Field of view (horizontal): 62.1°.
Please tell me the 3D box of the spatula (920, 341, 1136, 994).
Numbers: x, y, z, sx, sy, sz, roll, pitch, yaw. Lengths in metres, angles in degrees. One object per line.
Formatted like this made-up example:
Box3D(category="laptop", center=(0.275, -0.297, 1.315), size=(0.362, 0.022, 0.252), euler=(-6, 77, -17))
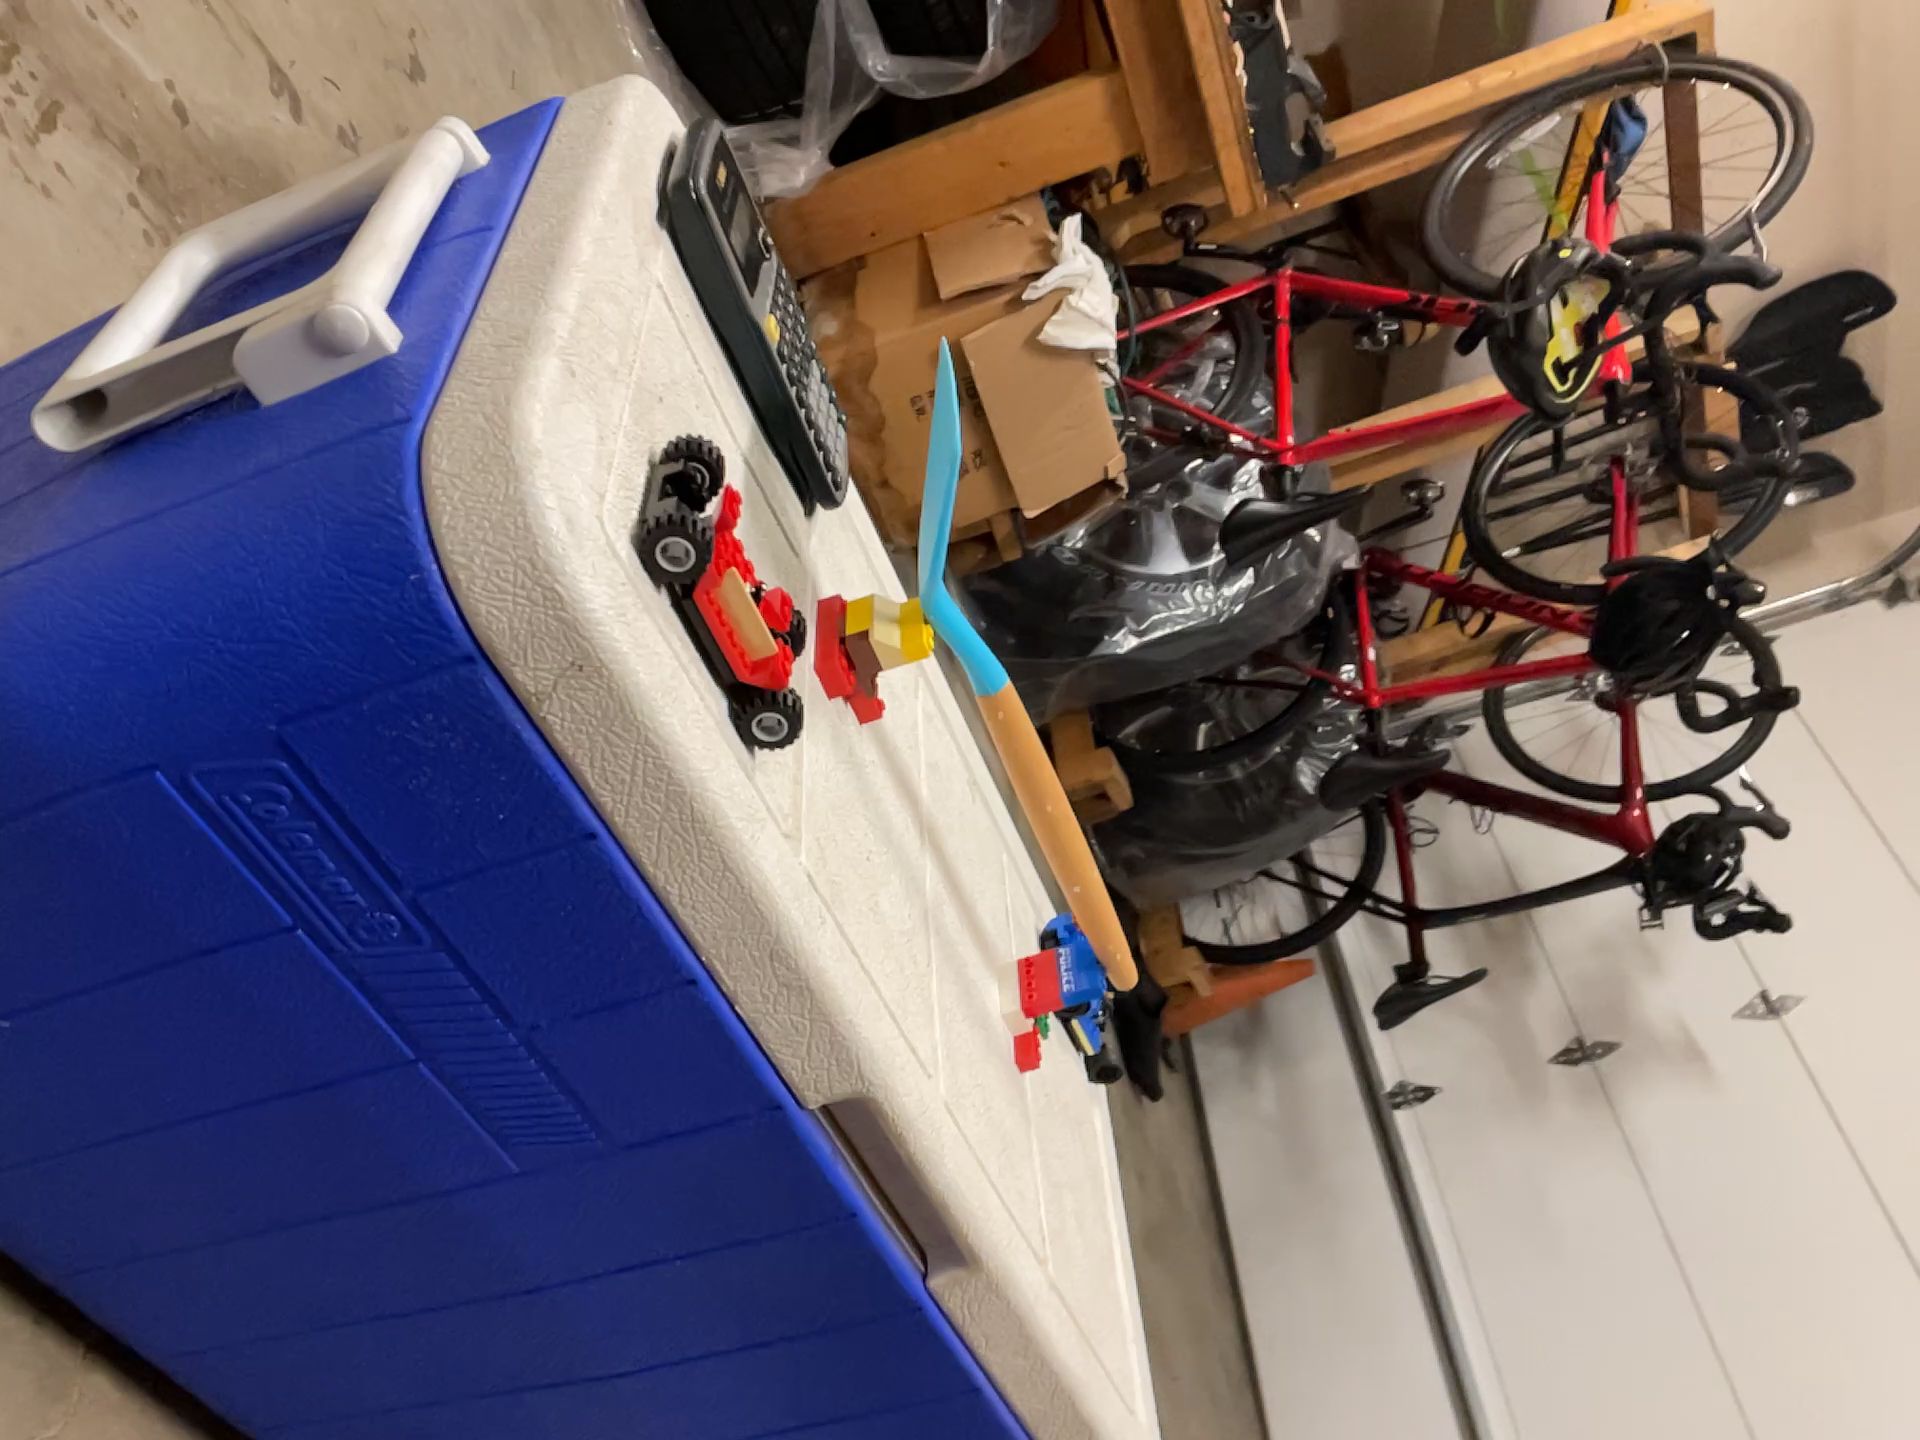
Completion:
Box3D(category="spatula", center=(0.031, 0.003, 0.653), size=(0.083, 0.044, 0.317), euler=(-98, 166, -54))
